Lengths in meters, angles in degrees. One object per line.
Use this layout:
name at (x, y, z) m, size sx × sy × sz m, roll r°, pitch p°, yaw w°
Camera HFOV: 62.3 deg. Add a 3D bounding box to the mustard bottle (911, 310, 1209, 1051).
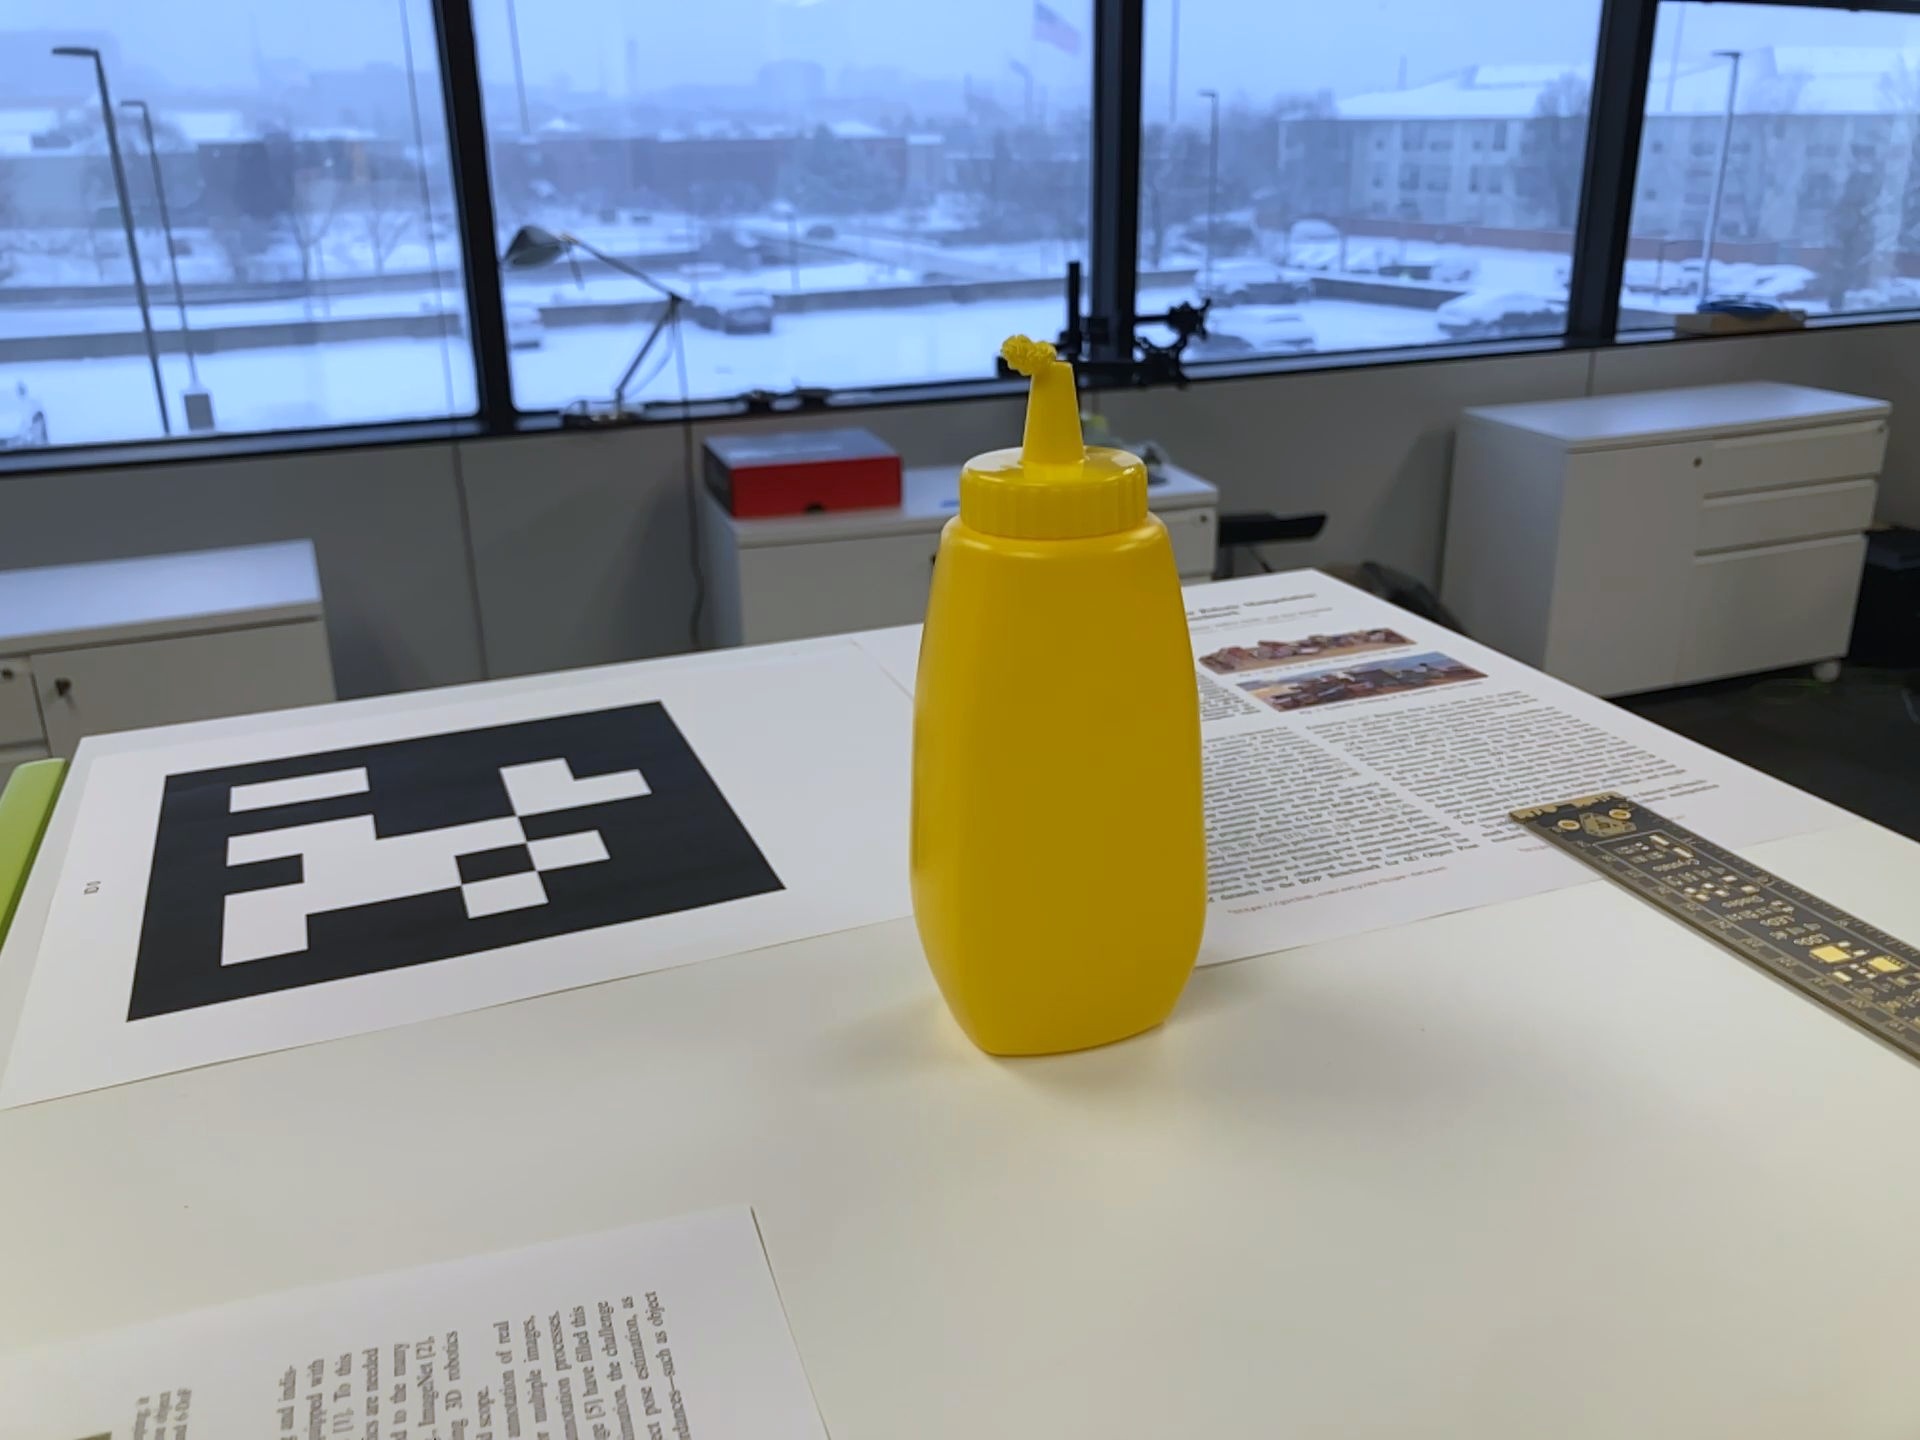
mustard bottle at (0.022, -0.008, 0.348) m, size 0.065 × 0.160 × 0.049 m, roll -6°, pitch 19°, yaw -16°
